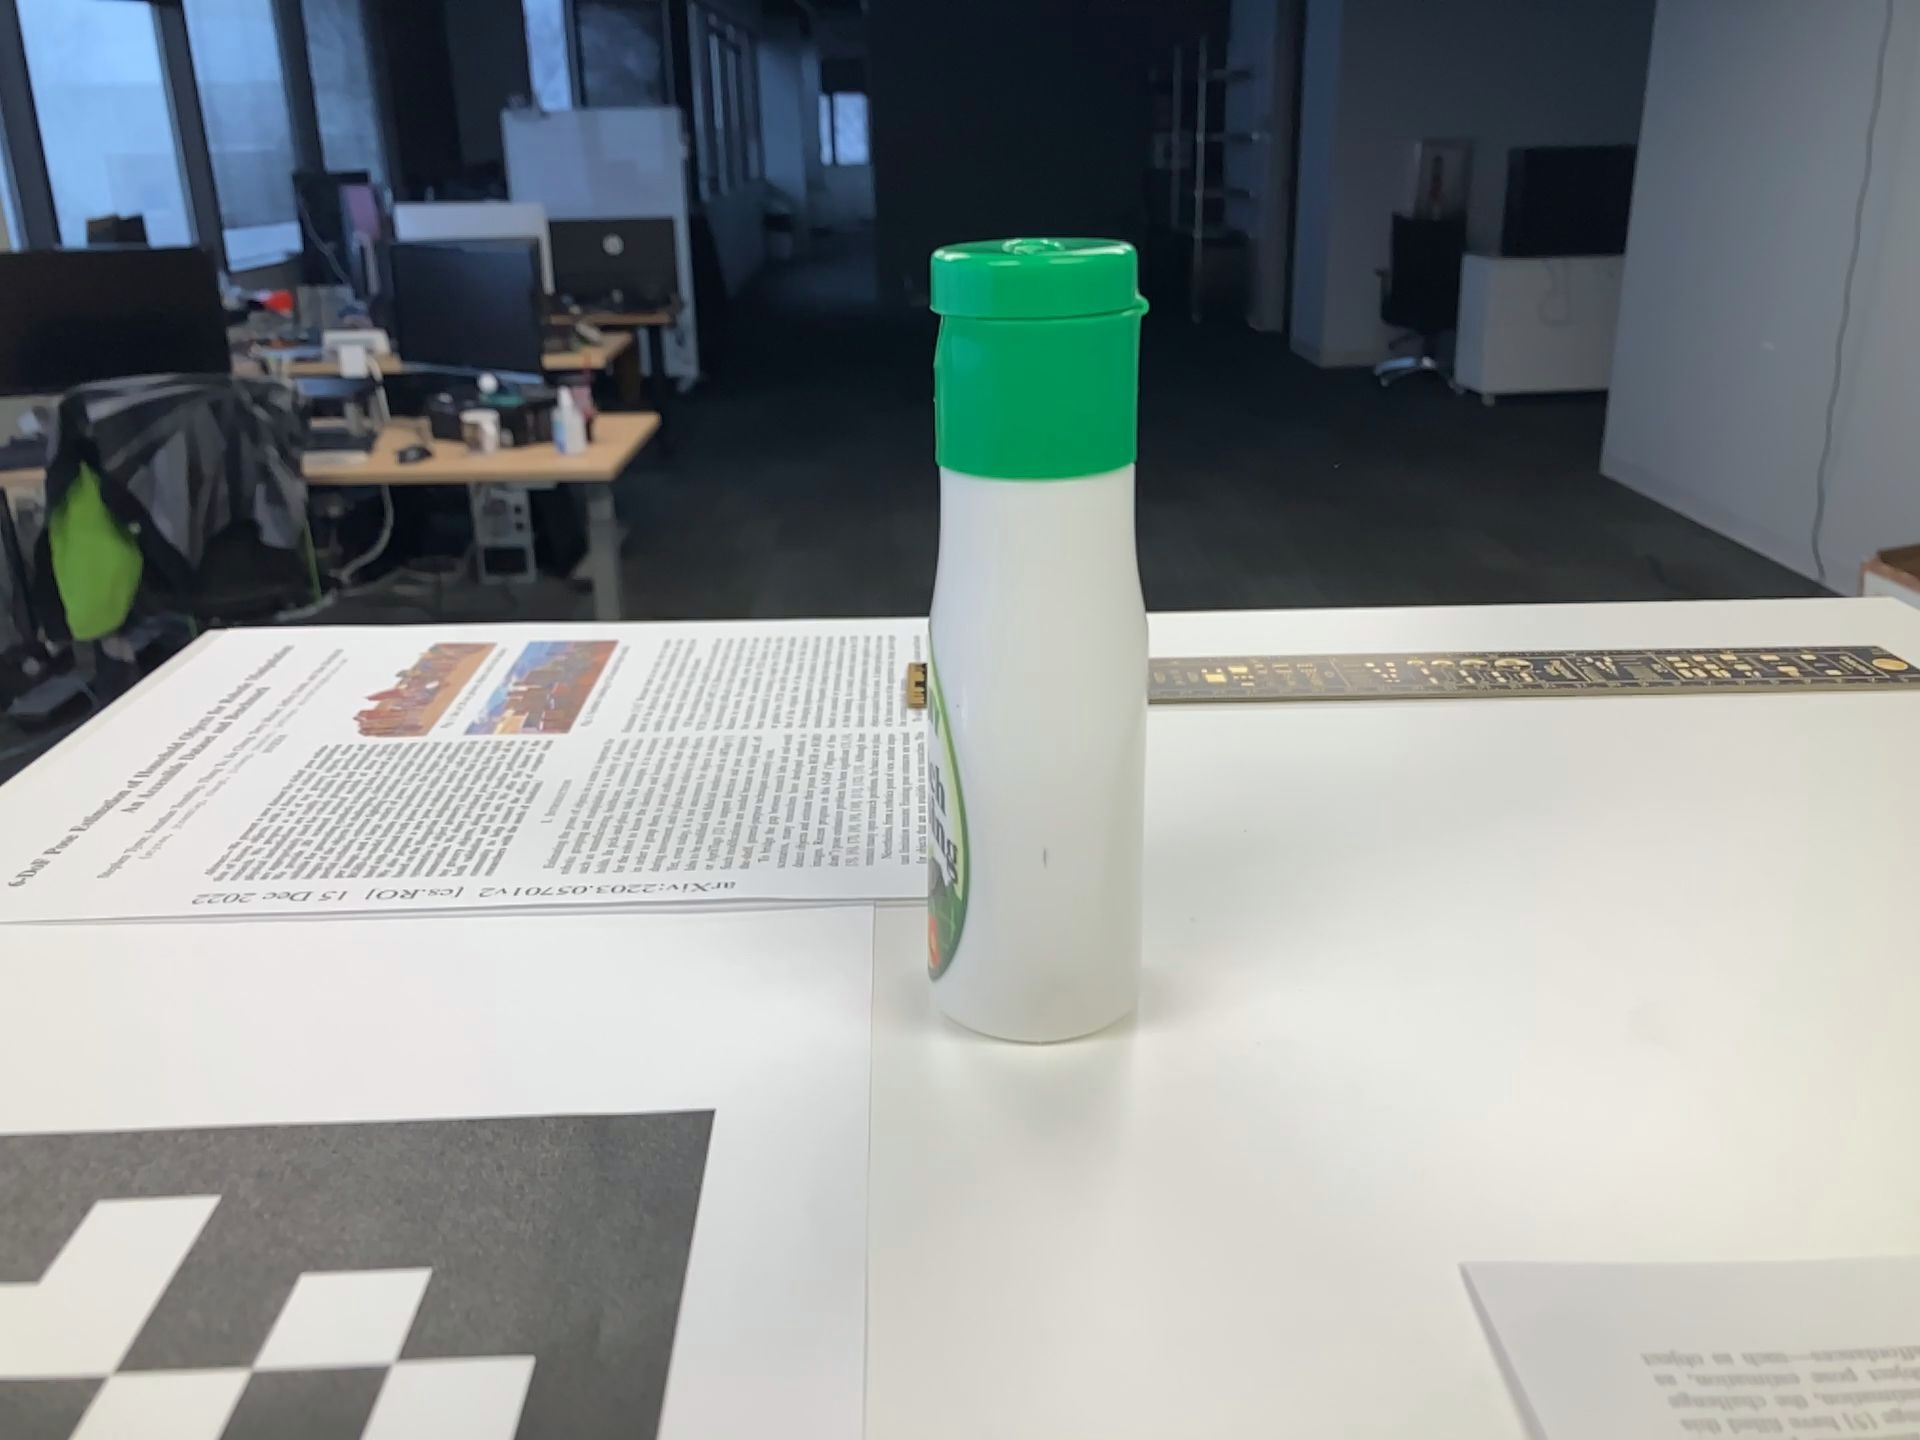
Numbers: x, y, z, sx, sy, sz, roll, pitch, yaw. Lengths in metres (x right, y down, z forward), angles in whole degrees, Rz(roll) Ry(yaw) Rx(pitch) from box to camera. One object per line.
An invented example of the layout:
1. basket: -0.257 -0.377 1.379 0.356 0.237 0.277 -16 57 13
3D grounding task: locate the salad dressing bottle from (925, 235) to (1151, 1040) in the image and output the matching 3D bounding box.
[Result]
1. salad dressing bottle: 0.014 -0.014 0.301 0.044 0.147 0.064 -1 19 -2
